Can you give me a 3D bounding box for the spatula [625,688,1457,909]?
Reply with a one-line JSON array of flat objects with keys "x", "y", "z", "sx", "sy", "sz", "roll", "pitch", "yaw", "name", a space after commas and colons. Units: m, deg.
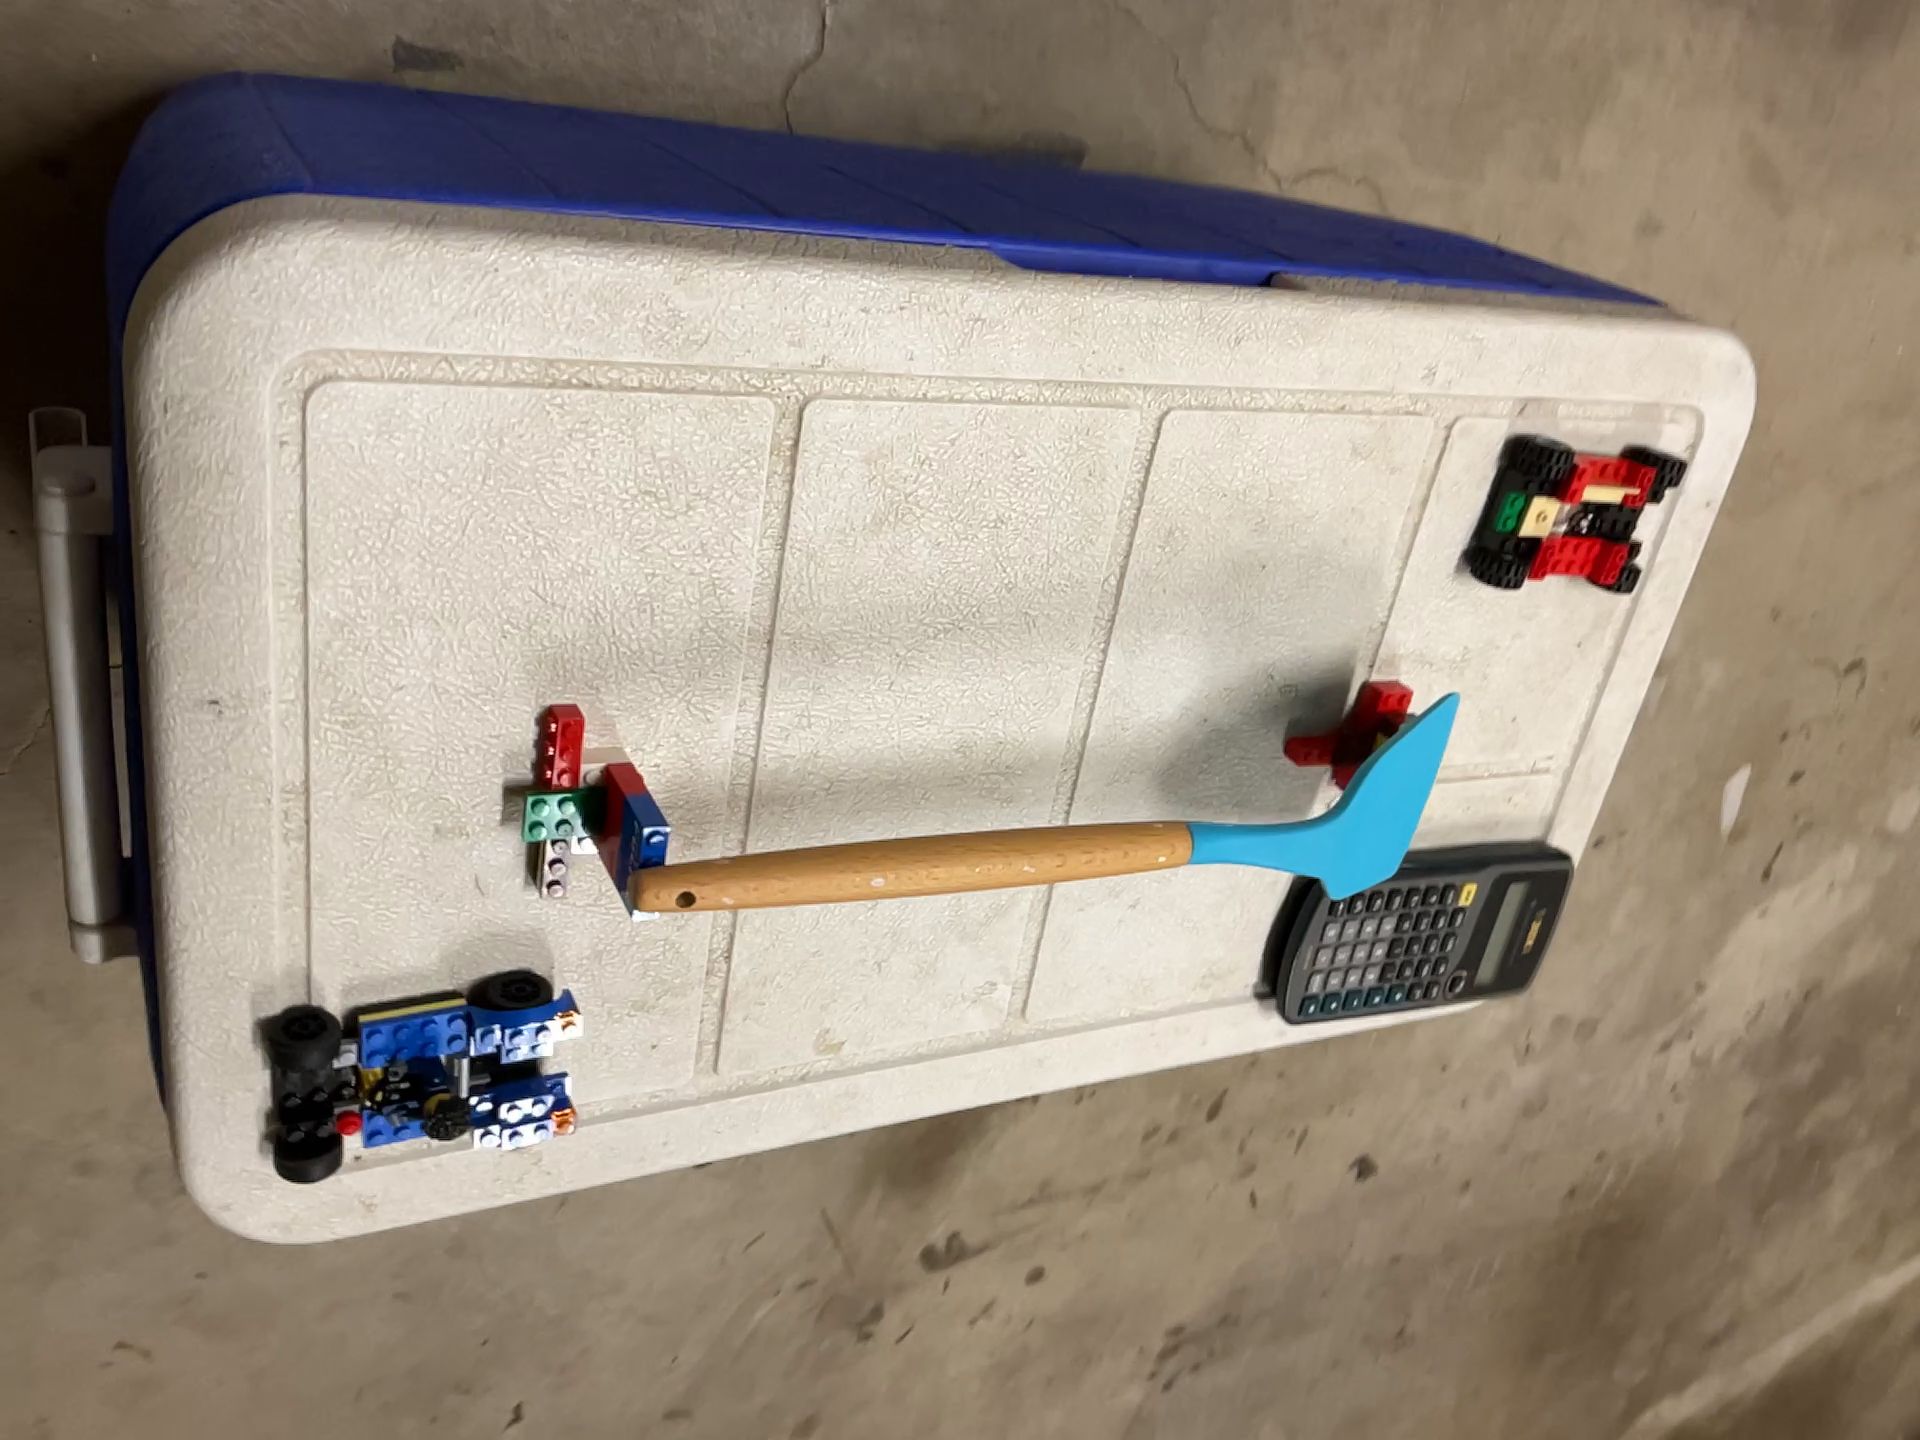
[{"x": 0.045, "y": 0.038, "z": 0.531, "sx": 0.318, "sy": 0.044, "sz": 0.082, "roll": -2, "pitch": 120, "yaw": -25, "name": "spatula"}]
